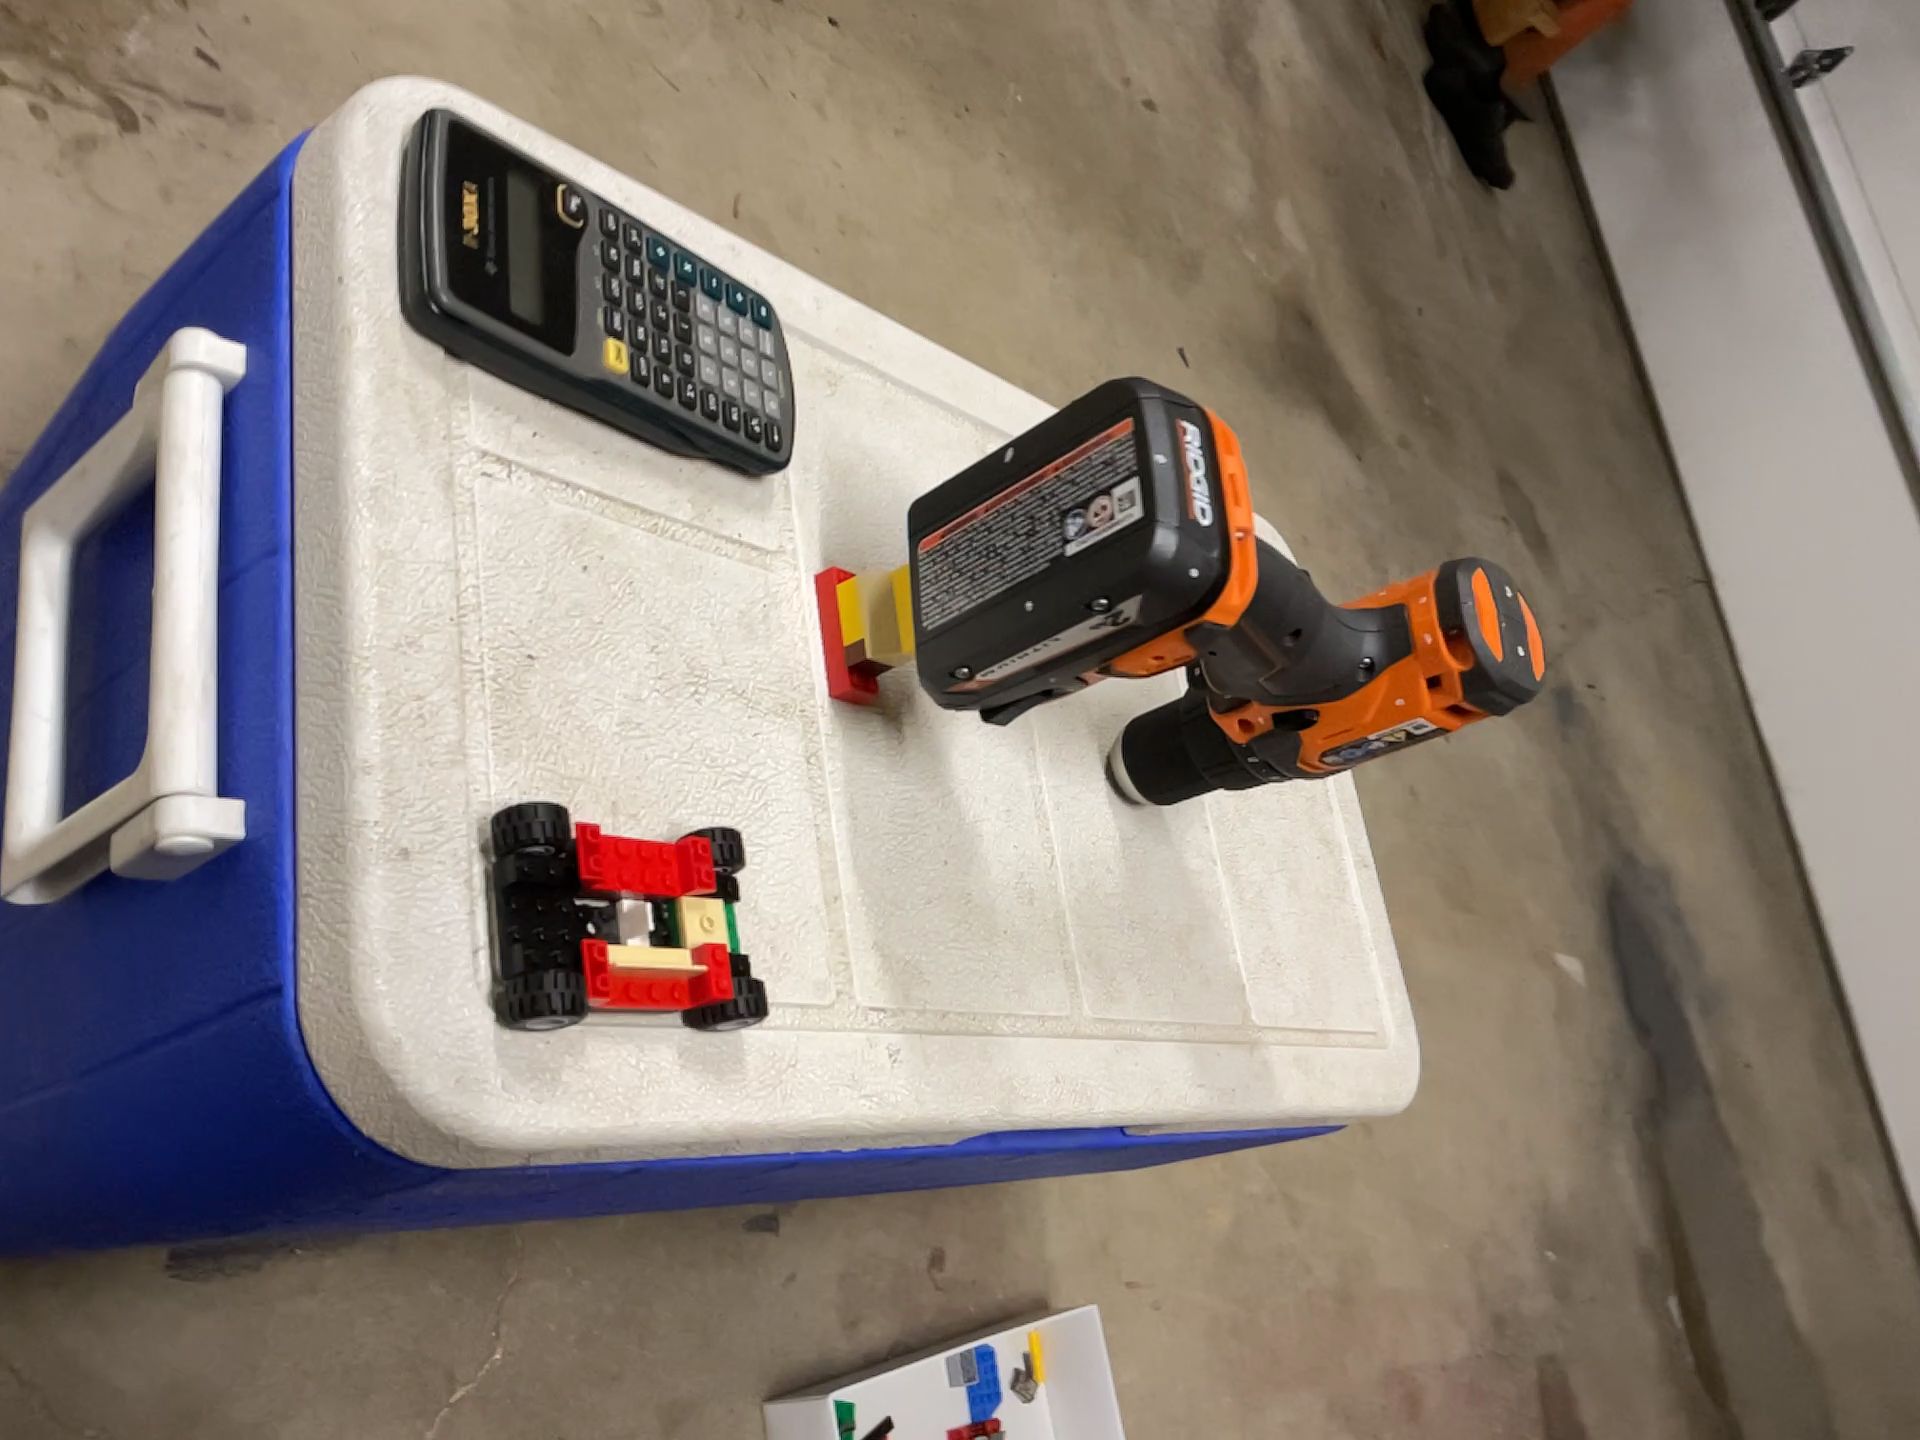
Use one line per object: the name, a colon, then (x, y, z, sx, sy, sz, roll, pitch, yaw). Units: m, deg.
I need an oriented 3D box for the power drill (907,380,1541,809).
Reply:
power drill: (0.081, -0.025, 0.593, 0.226, 0.185, 0.084, 18, 59, -41)
